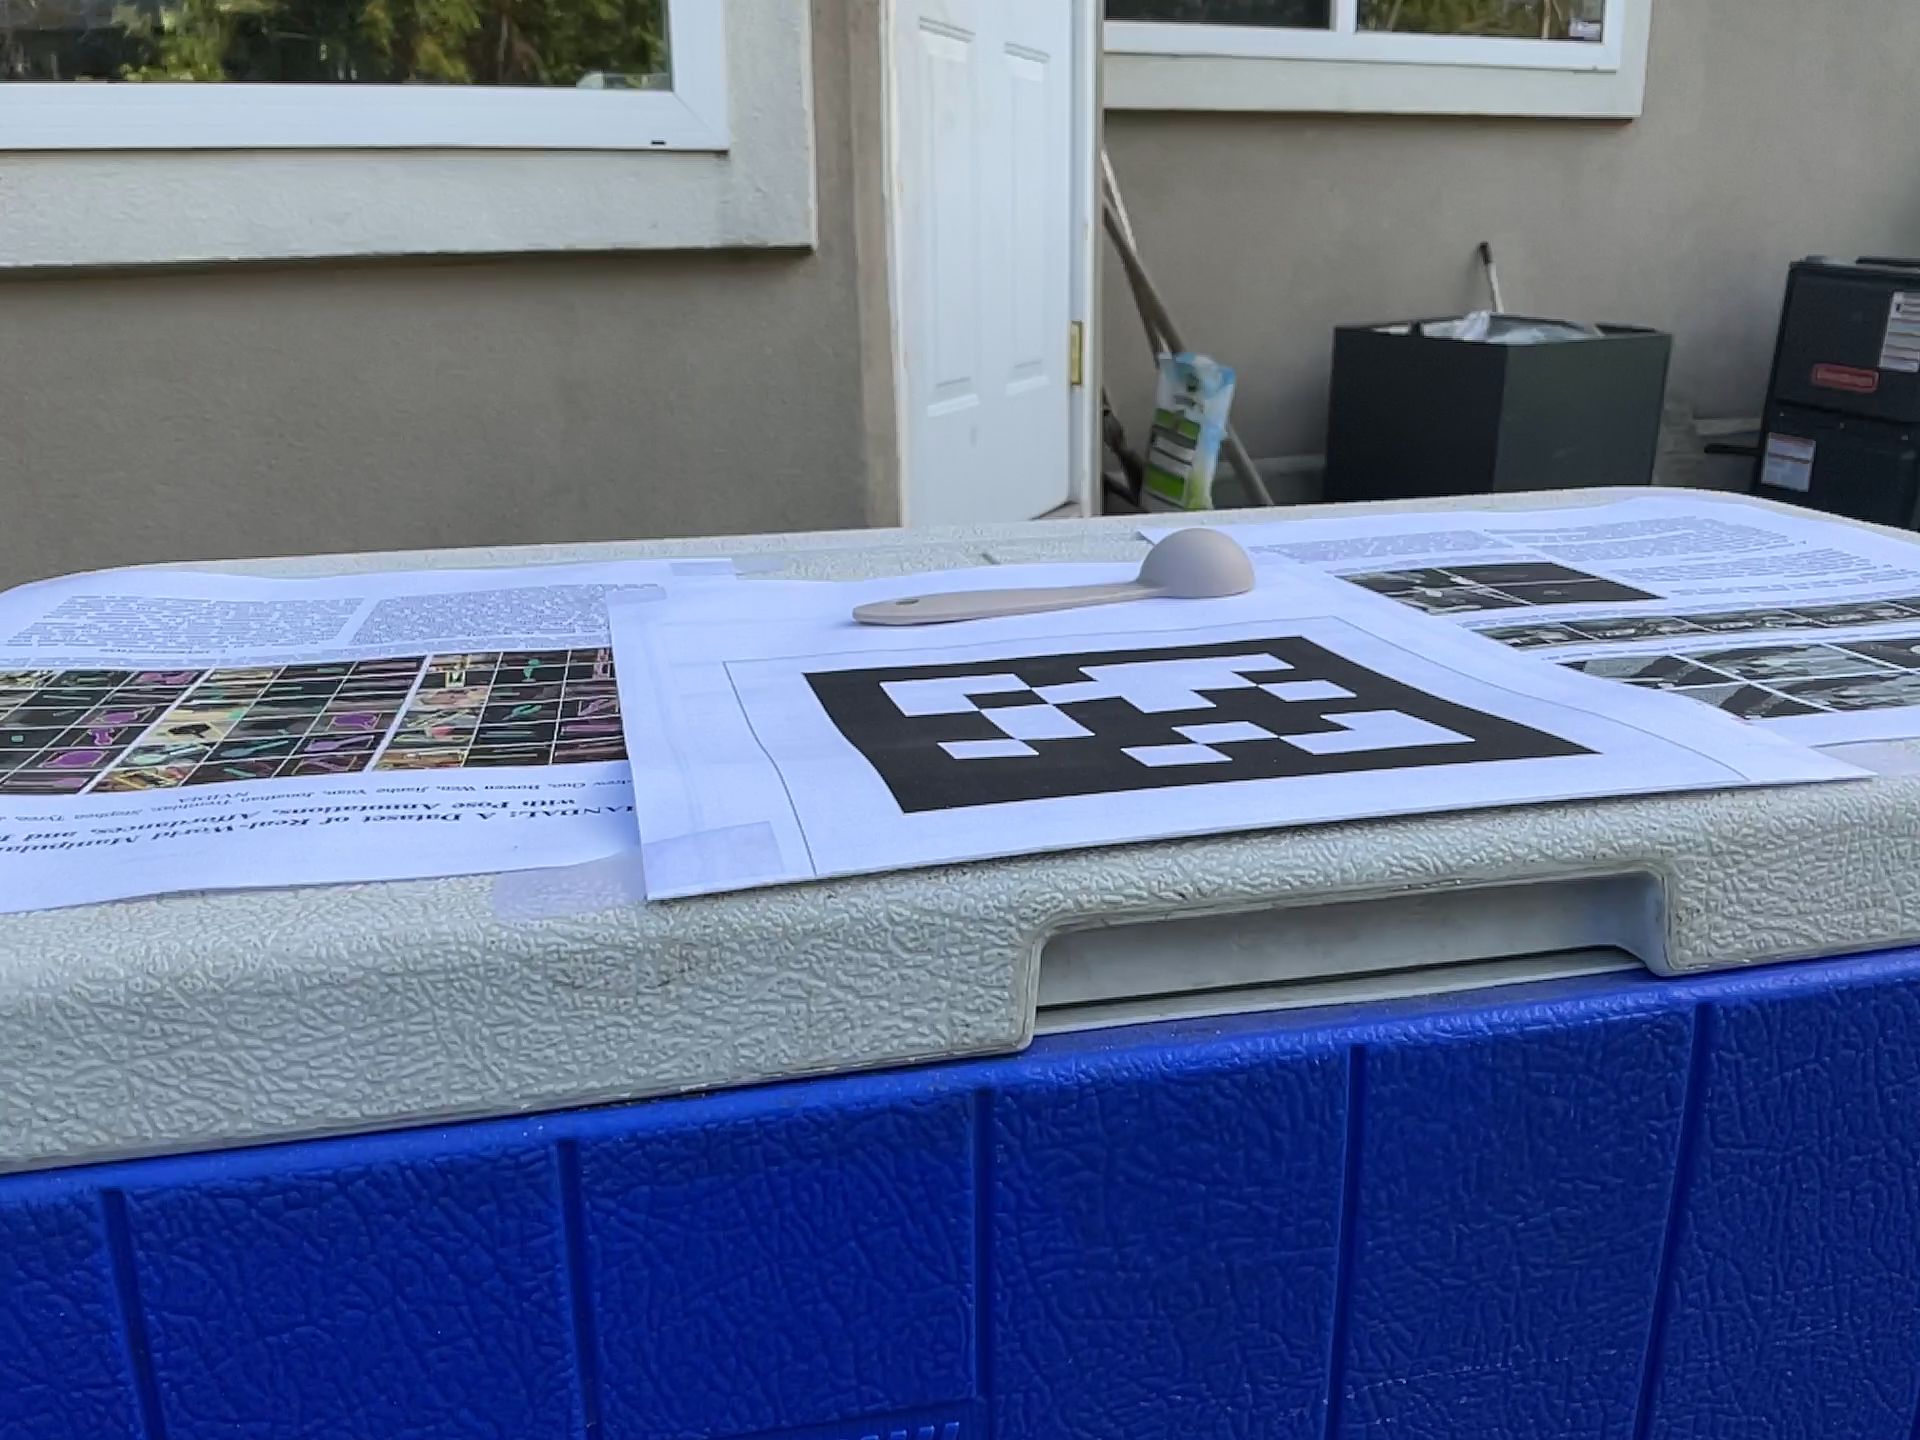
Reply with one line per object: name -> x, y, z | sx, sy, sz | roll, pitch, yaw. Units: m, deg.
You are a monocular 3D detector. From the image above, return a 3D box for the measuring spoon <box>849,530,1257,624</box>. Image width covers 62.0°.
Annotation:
measuring spoon -> 0.028, -0.041, 0.450 | 0.124, 0.018, 0.034 | -8, 18, -21
